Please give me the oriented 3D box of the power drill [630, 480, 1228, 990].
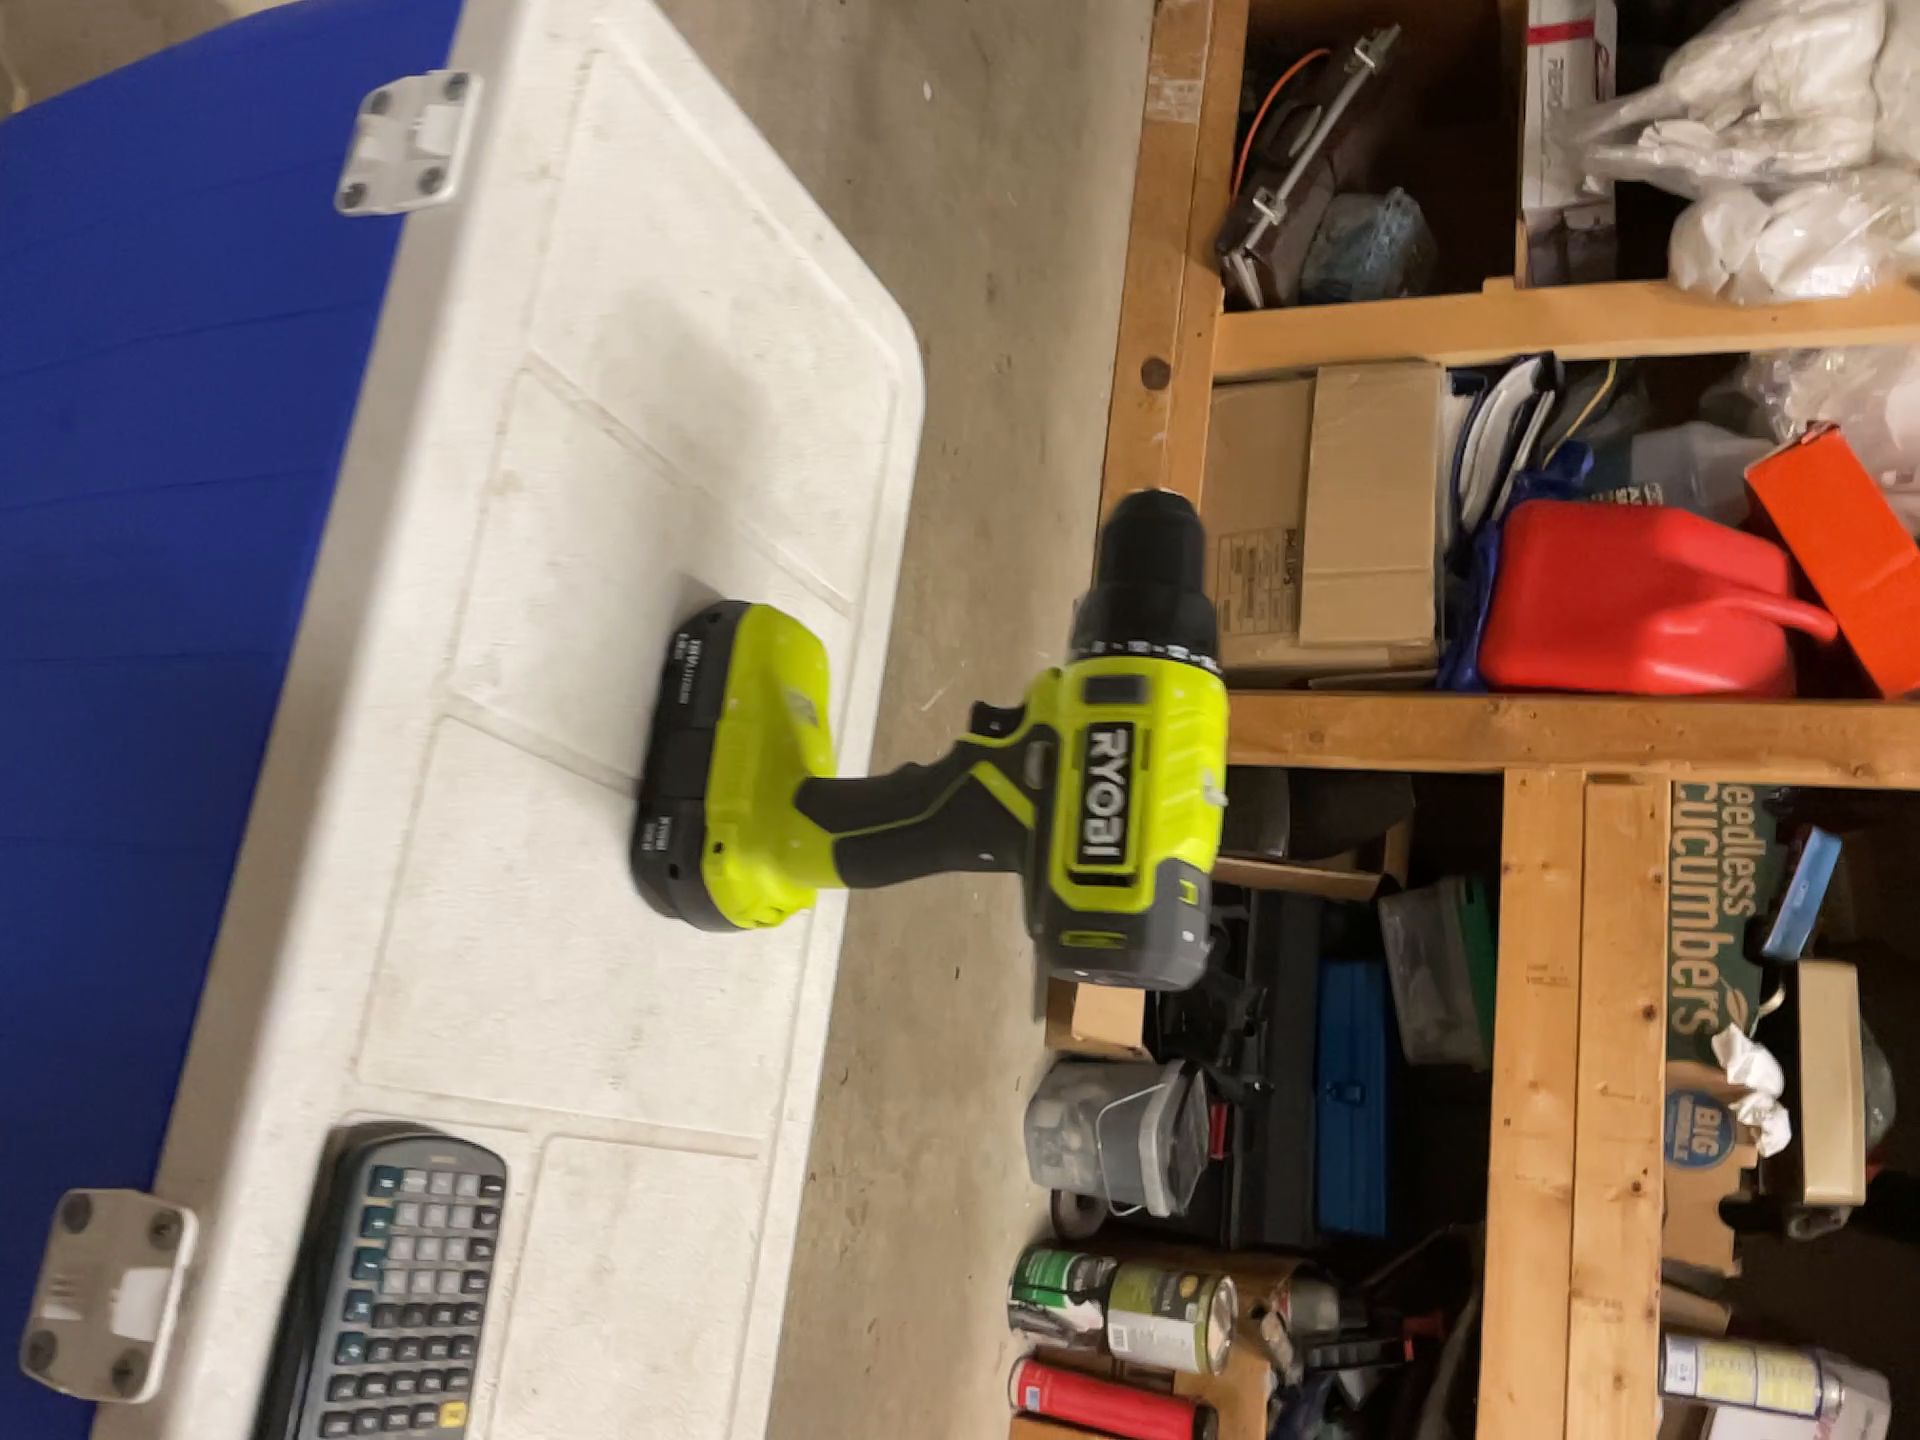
[{"bbox_3d":[-0.006,0.004,0.628,0.080,0.228,0.191,36,56,-61],"label":"power drill"}]
